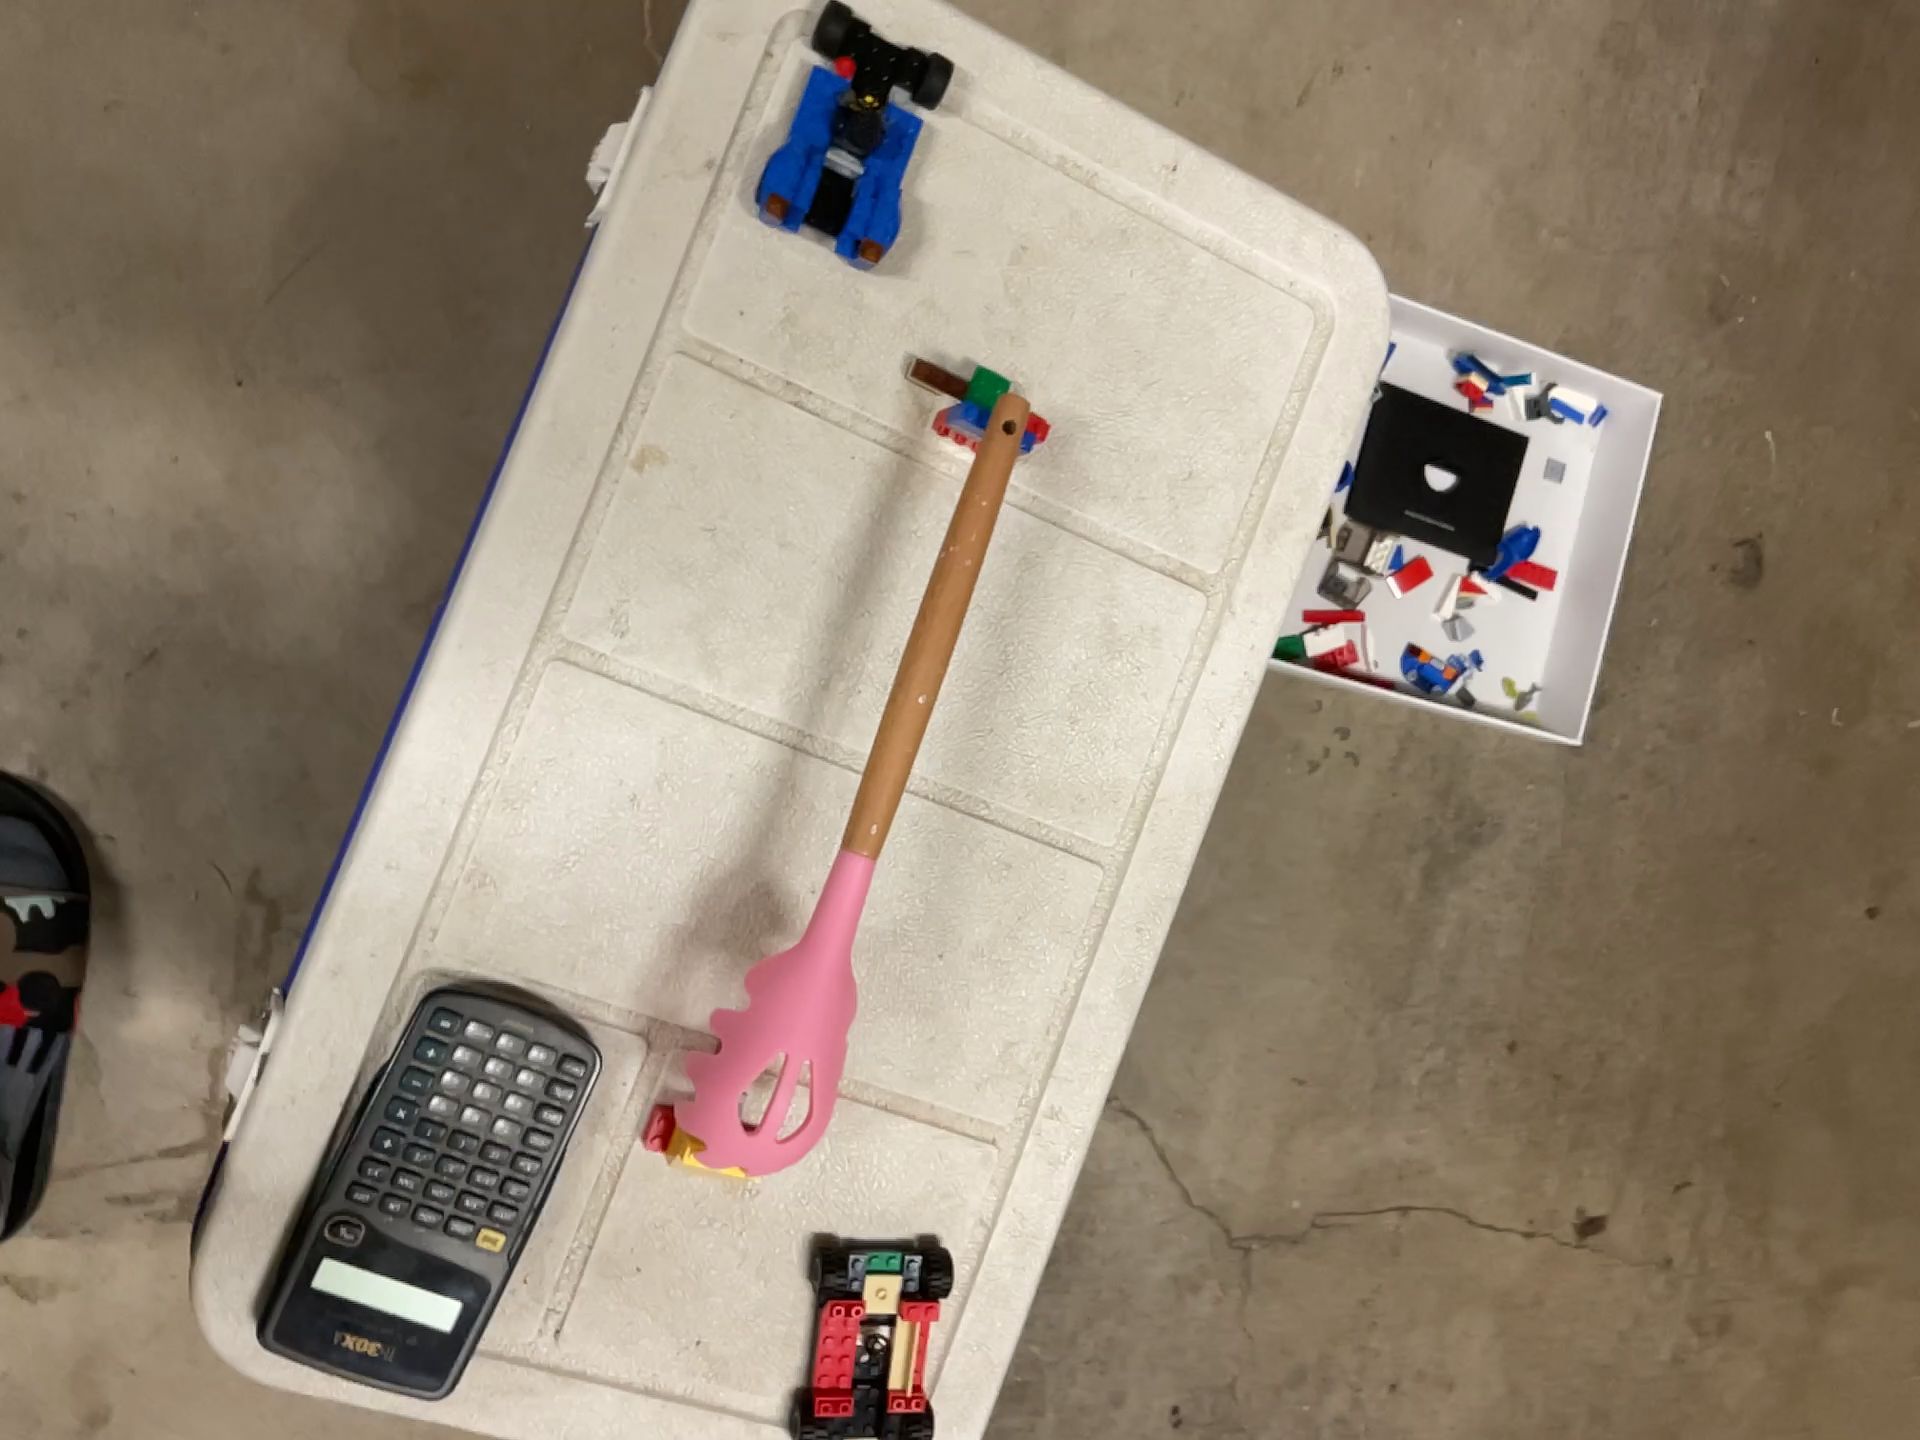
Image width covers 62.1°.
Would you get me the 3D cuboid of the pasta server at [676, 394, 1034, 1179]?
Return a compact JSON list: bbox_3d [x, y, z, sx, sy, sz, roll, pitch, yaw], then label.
[{"bbox_3d":[-0.032,0.025,0.608,0.060,0.040,0.316,21,85,-17],"label":"pasta server"}]
